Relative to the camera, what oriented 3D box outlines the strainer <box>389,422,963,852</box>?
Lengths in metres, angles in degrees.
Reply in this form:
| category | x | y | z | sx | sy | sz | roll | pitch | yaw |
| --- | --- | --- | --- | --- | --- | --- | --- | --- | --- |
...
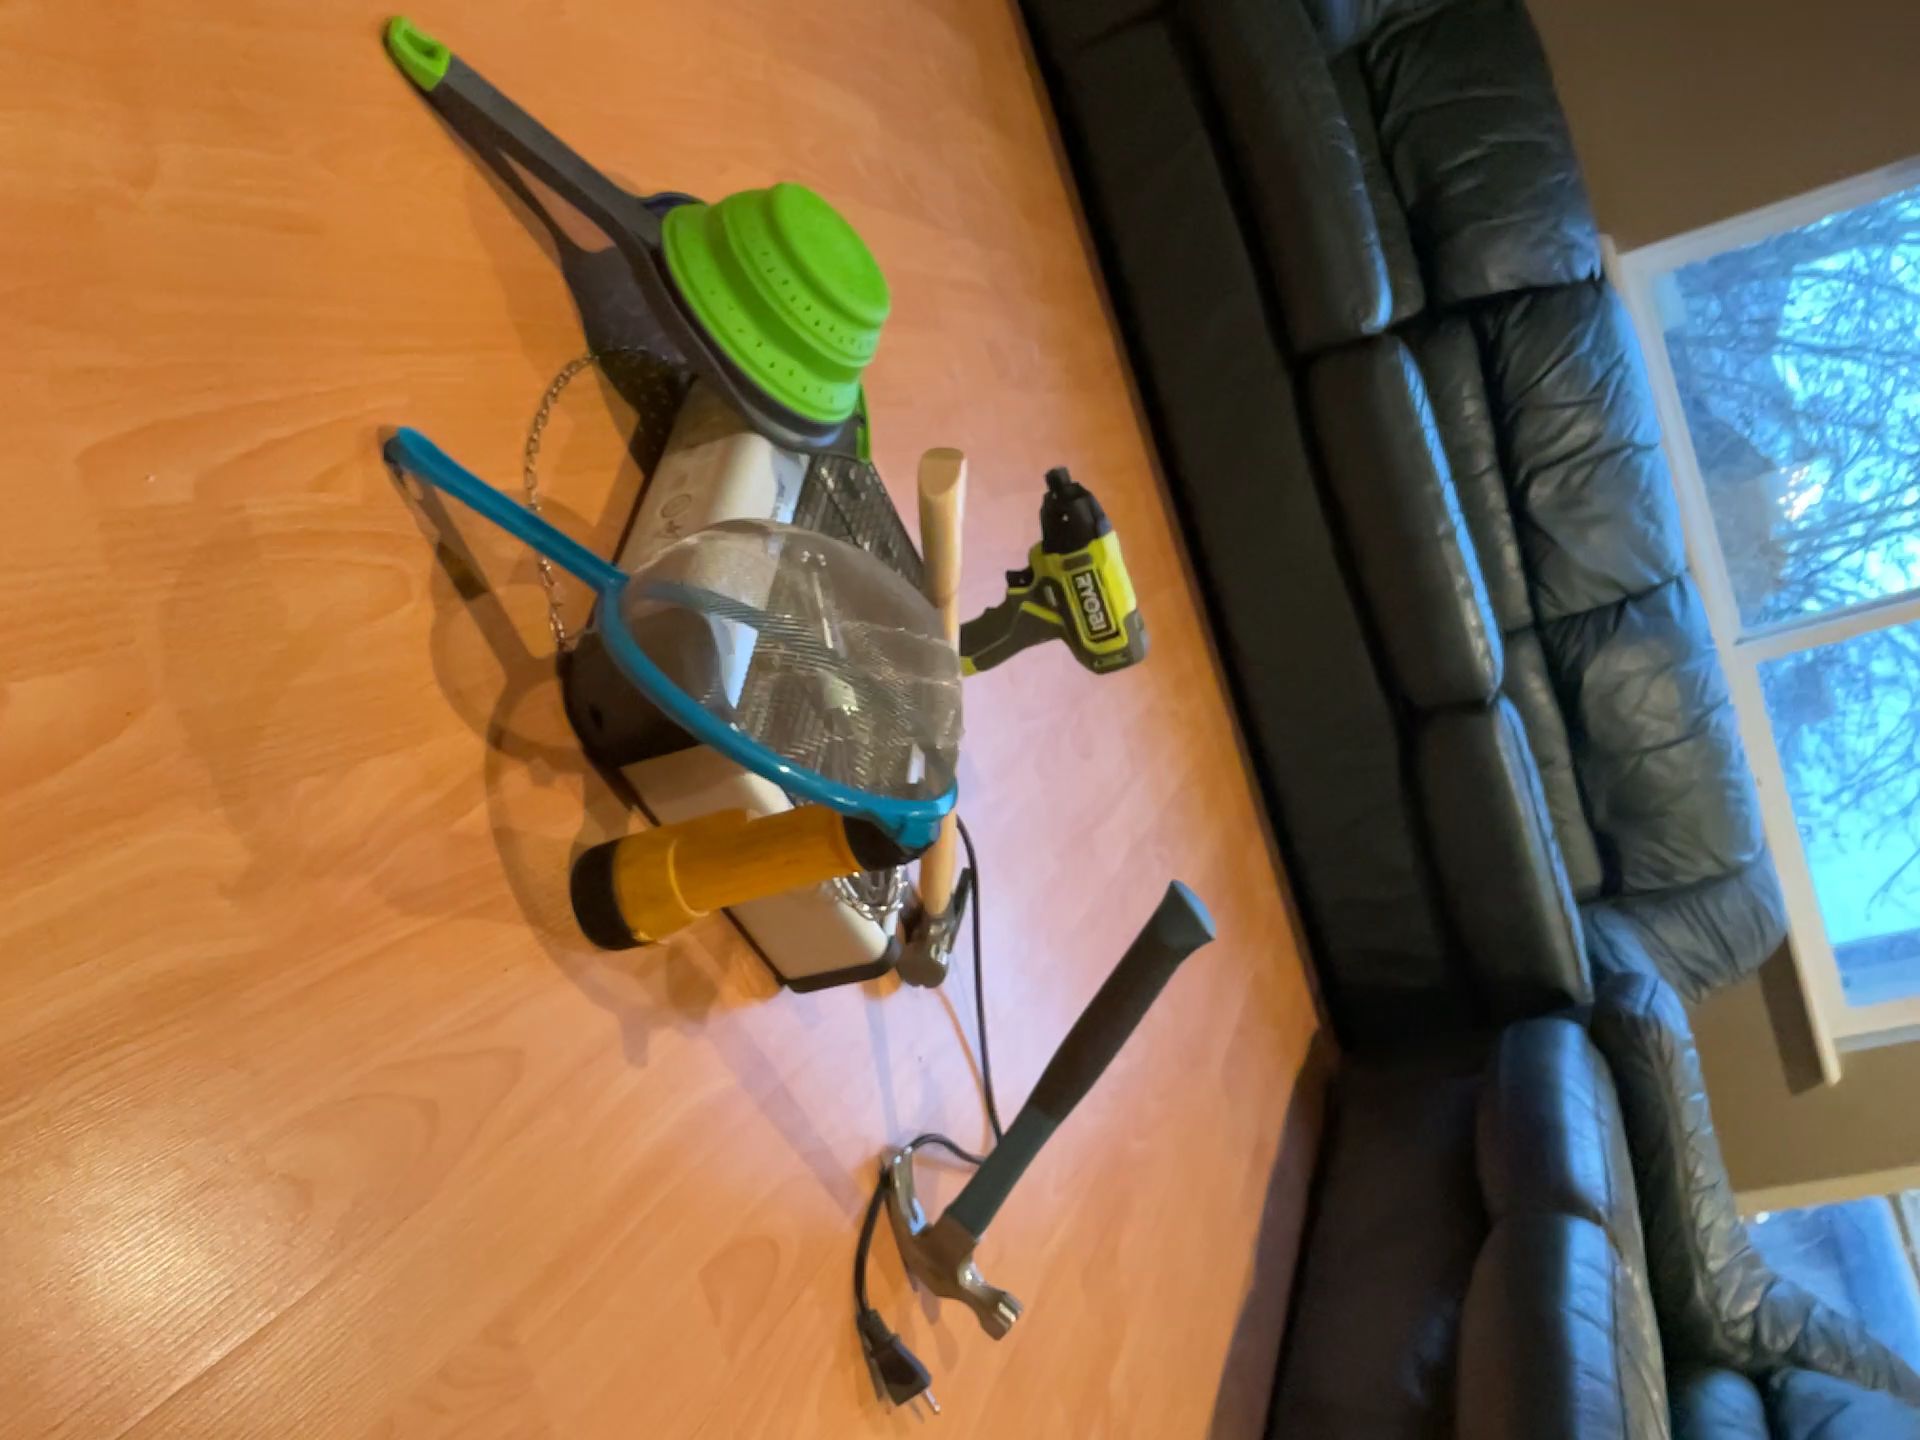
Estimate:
| category | x | y | z | sx | sy | sz | roll | pitch | yaw |
| --- | --- | --- | --- | --- | --- | --- | --- | --- | --- |
| strainer | -0.126 | -0.078 | 0.820 | 0.340 | 0.095 | 0.211 | 34 | 15 | -4 |

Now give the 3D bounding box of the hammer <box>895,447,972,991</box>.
| category | x | y | z | sx | sy | sz | roll | pitch | yaw |
| --- | --- | --- | --- | --- | --- | --- | --- | --- | --- |
| hammer | -0.014 | -0.005 | 1.185 | 0.146 | 0.038 | 0.410 | -68 | 161 | -59 |

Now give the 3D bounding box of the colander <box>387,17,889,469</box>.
| category | x | y | z | sx | sy | sz | roll | pitch | yaw |
| --- | --- | --- | --- | --- | --- | --- | --- | --- | --- |
| colander | -0.169 | -0.321 | 1.020 | 0.397 | 0.094 | 0.205 | 35 | 34 | -36 |

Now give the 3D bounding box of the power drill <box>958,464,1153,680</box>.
| category | x | y | z | sx | sy | sz | roll | pitch | yaw |
| --- | --- | --- | --- | --- | --- | --- | --- | --- | --- |
| power drill | 0.030 | -0.102 | 1.328 | 0.080 | 0.223 | 0.171 | -44 | 116 | -69 |

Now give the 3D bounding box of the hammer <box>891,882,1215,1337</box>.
| category | x | y | z | sx | sy | sz | roll | pitch | yaw |
| --- | --- | --- | --- | --- | --- | --- | --- | --- | --- |
| hammer | 0.066 | 0.250 | 1.071 | 0.128 | 0.330 | 0.033 | 36 | 14 | 14 |

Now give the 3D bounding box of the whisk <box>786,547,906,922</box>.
| category | x | y | z | sx | sy | sz | roll | pitch | yaw |
| --- | --- | --- | --- | --- | --- | --- | --- | --- | --- |
| whisk | -0.075 | 0.005 | 0.991 | 0.058 | 0.059 | 0.246 | 1 | 68 | -39 |
